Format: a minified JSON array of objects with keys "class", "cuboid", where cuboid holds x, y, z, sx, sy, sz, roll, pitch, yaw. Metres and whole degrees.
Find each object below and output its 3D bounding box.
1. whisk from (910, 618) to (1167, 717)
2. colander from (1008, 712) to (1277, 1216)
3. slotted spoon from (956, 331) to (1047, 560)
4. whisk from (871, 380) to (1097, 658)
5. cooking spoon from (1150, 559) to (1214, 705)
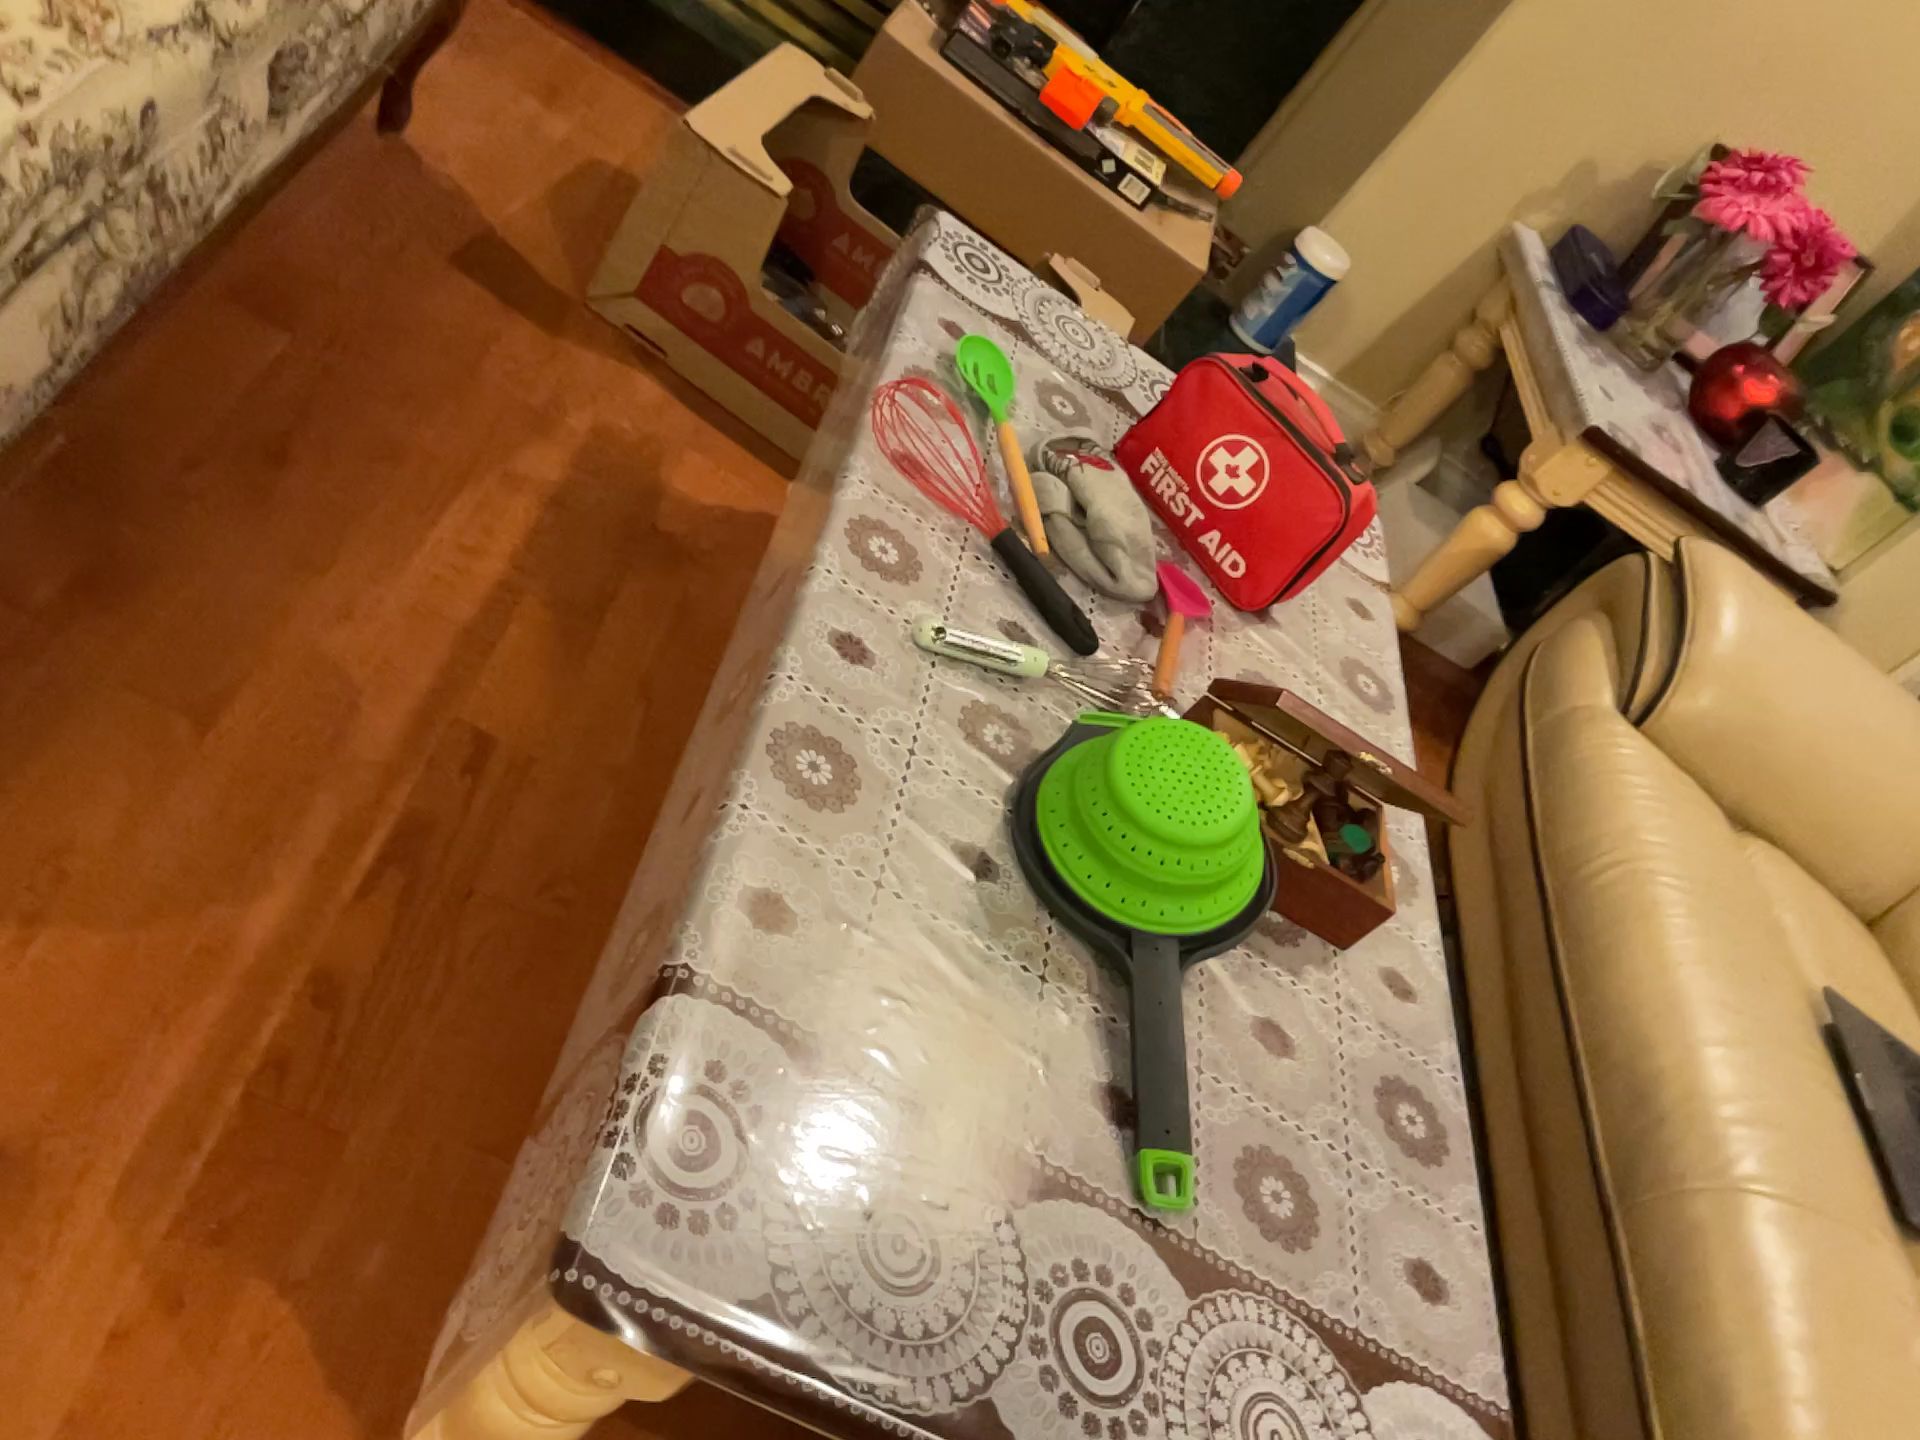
[{"class":"whisk","cuboid":[0.066,-0.038,1.273,0.246,0.059,0.058,16,2,-29]},{"class":"colander","cuboid":[0.141,0.131,1.085,0.204,0.094,0.398,10,51,-9]},{"class":"slotted spoon","cuboid":[0.042,-0.254,1.456,0.070,0.031,0.314,19,40,-30]},{"class":"whisk","cuboid":[0.023,-0.173,1.355,0.296,0.073,0.073,53,30,4]},{"class":"cooking spoon","cuboid":[0.187,-0.080,1.396,0.068,0.017,0.319,37,25,-5]}]
